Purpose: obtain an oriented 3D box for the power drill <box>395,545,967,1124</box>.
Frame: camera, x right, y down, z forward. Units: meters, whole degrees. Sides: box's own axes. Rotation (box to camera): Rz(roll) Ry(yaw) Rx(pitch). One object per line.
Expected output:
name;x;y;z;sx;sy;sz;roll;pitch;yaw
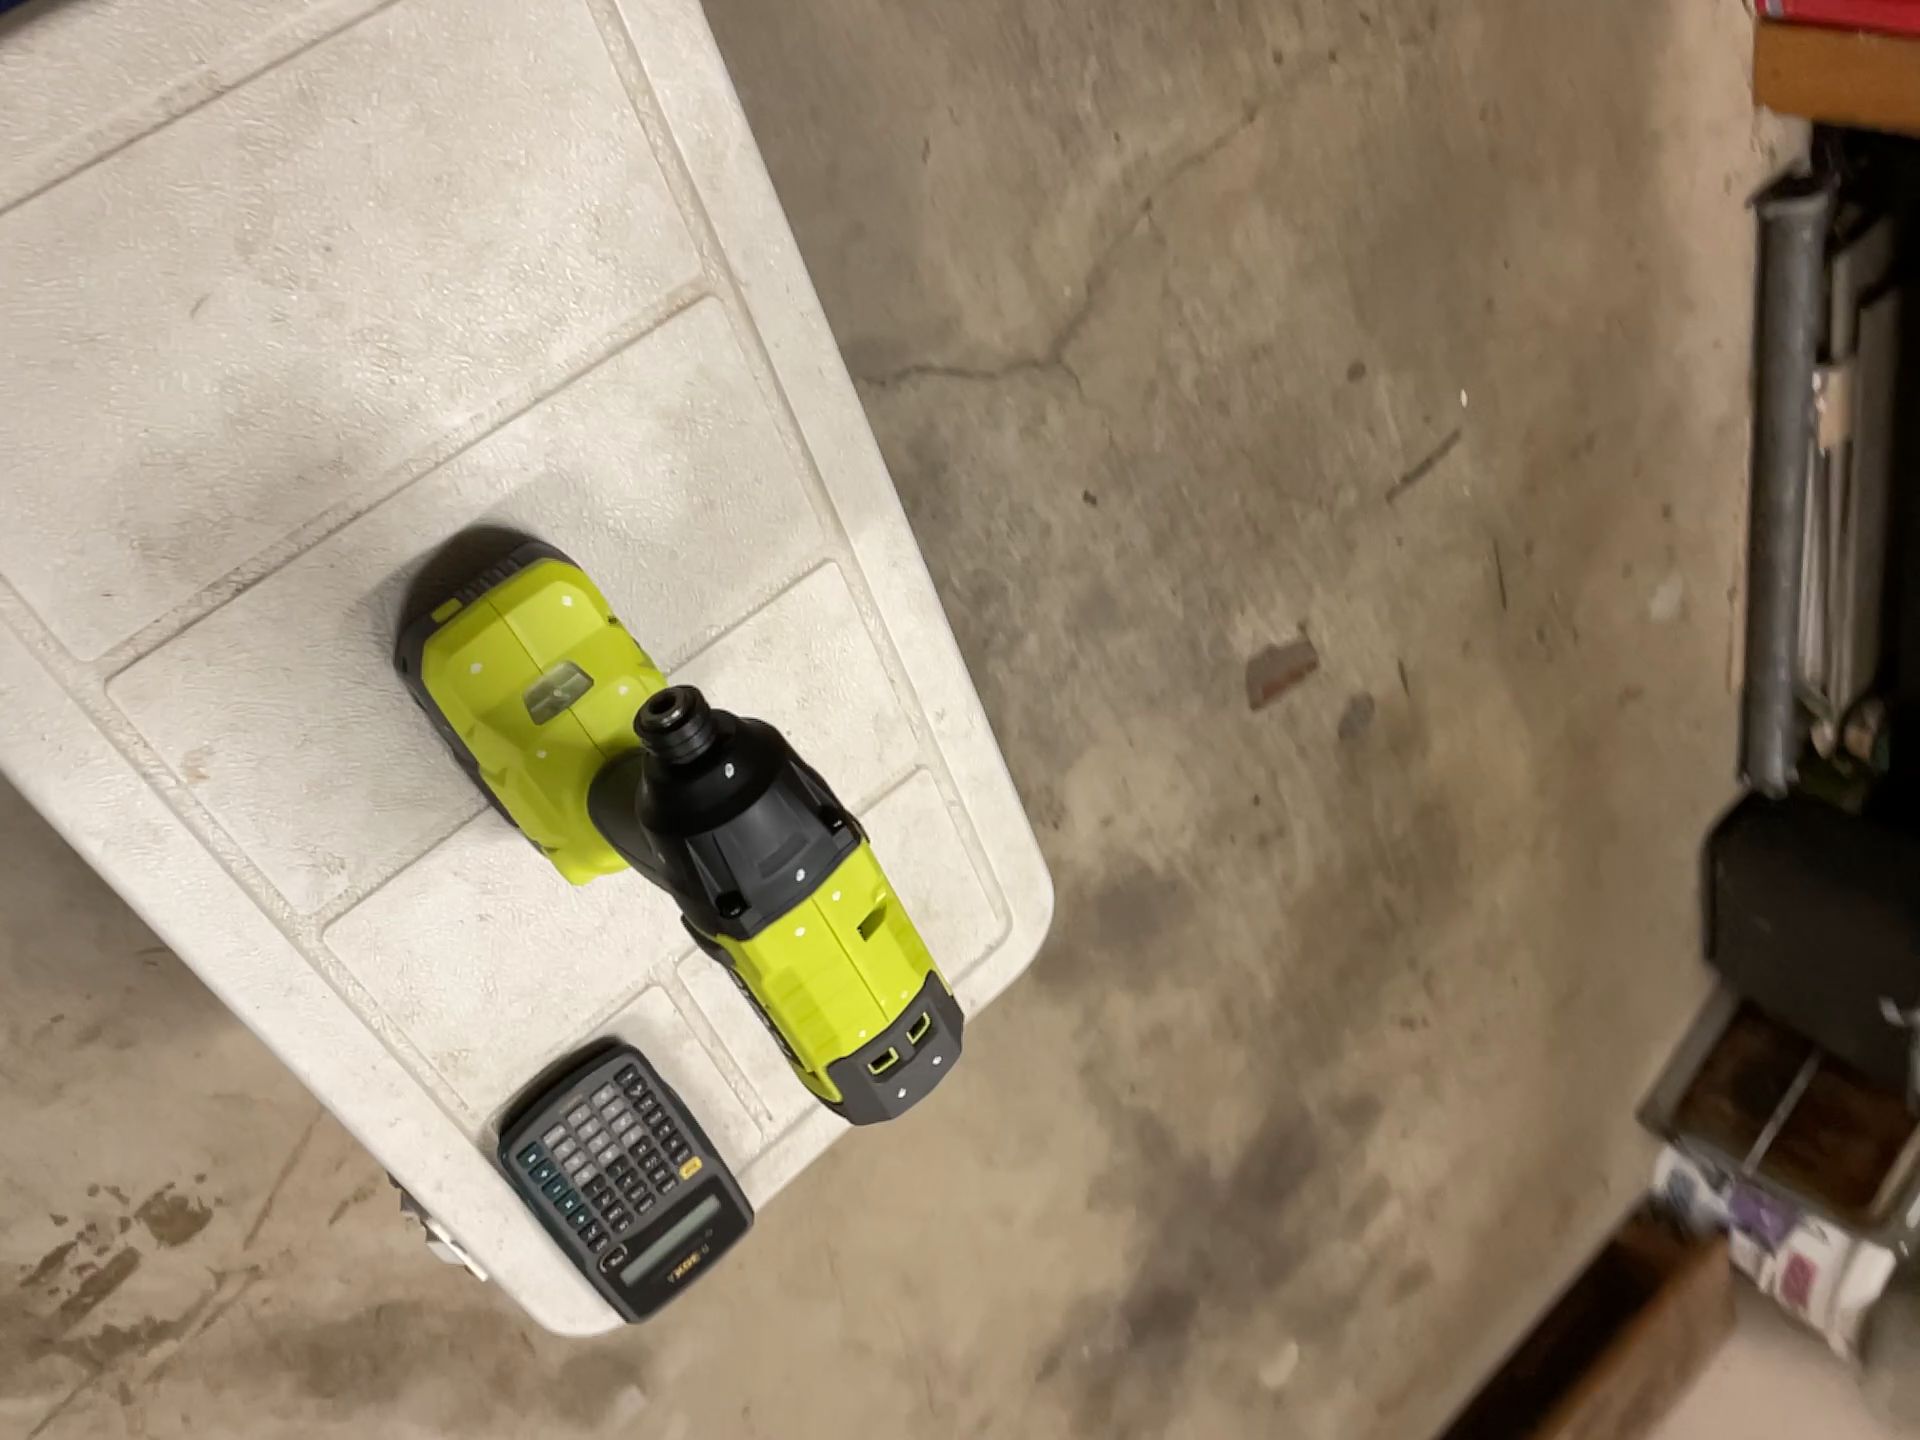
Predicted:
power drill;-0.102;0.026;0.550;0.080;0.223;0.171;-41;132;-18
